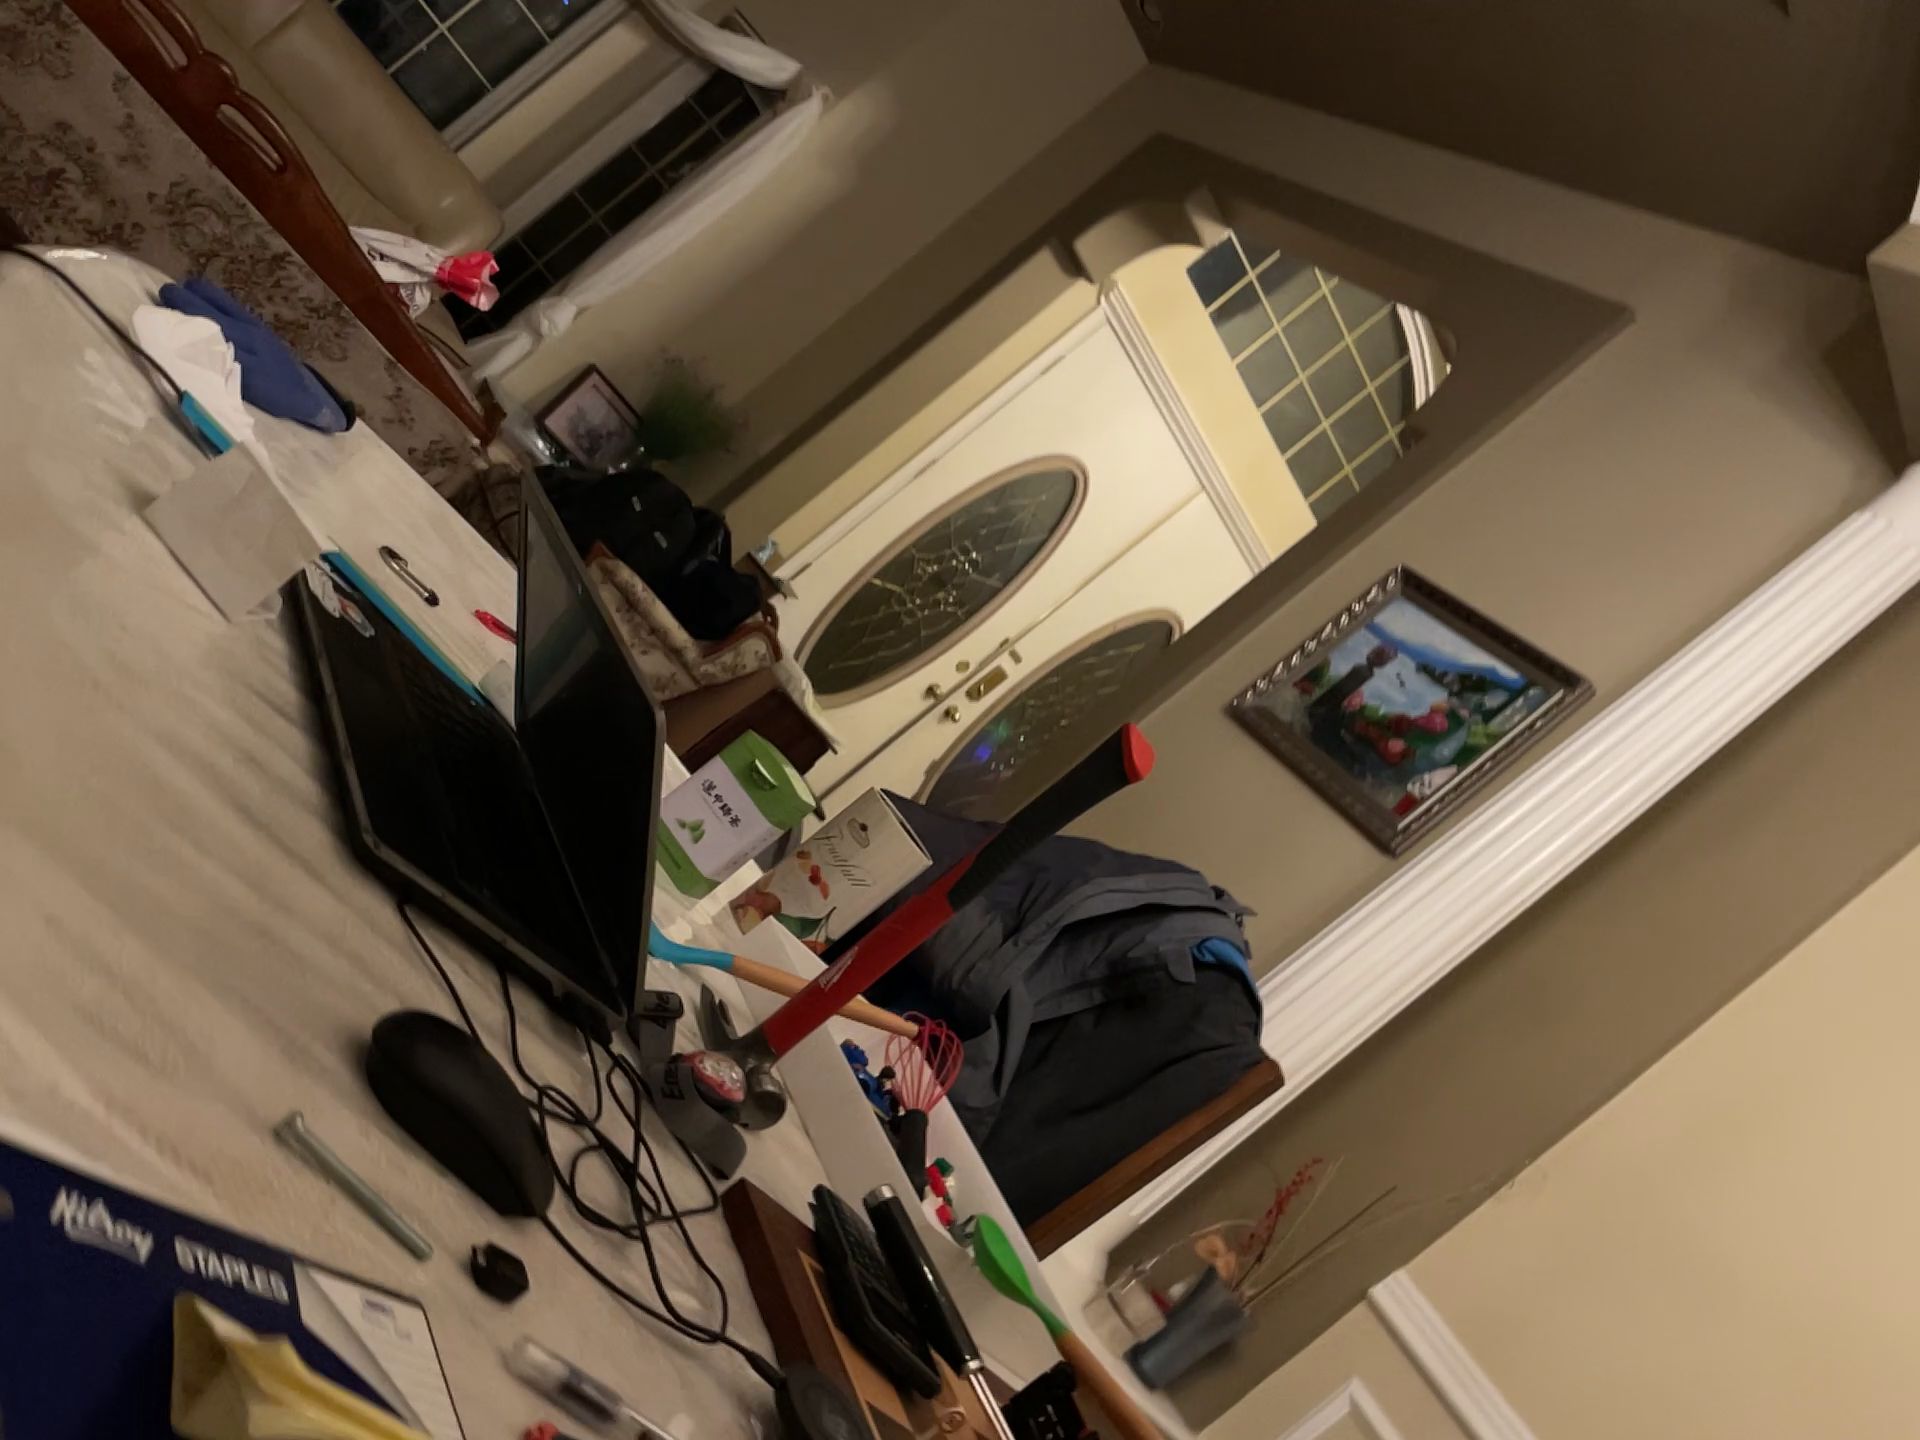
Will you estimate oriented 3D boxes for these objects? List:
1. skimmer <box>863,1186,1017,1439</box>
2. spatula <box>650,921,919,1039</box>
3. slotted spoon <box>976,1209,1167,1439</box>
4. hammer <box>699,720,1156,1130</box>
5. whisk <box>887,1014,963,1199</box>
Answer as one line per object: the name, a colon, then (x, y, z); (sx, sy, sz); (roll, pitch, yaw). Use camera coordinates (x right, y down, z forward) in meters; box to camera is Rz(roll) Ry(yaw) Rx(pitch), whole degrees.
skimmer: (0.060, 0.417, 0.926); (0.364, 0.090, 0.127); (56, 4, 30)
spatula: (-0.154, 0.192, 1.256); (0.317, 0.044, 0.082); (27, 11, -30)
slotted spoon: (0.081, 0.422, 1.053); (0.070, 0.031, 0.314); (53, -10, -26)
hammer: (-0.024, 0.126, 1.145); (0.038, 0.386, 0.143); (51, 0, -34)
whisk: (-0.038, 0.344, 1.410); (0.073, 0.073, 0.296); (33, 17, -7)
